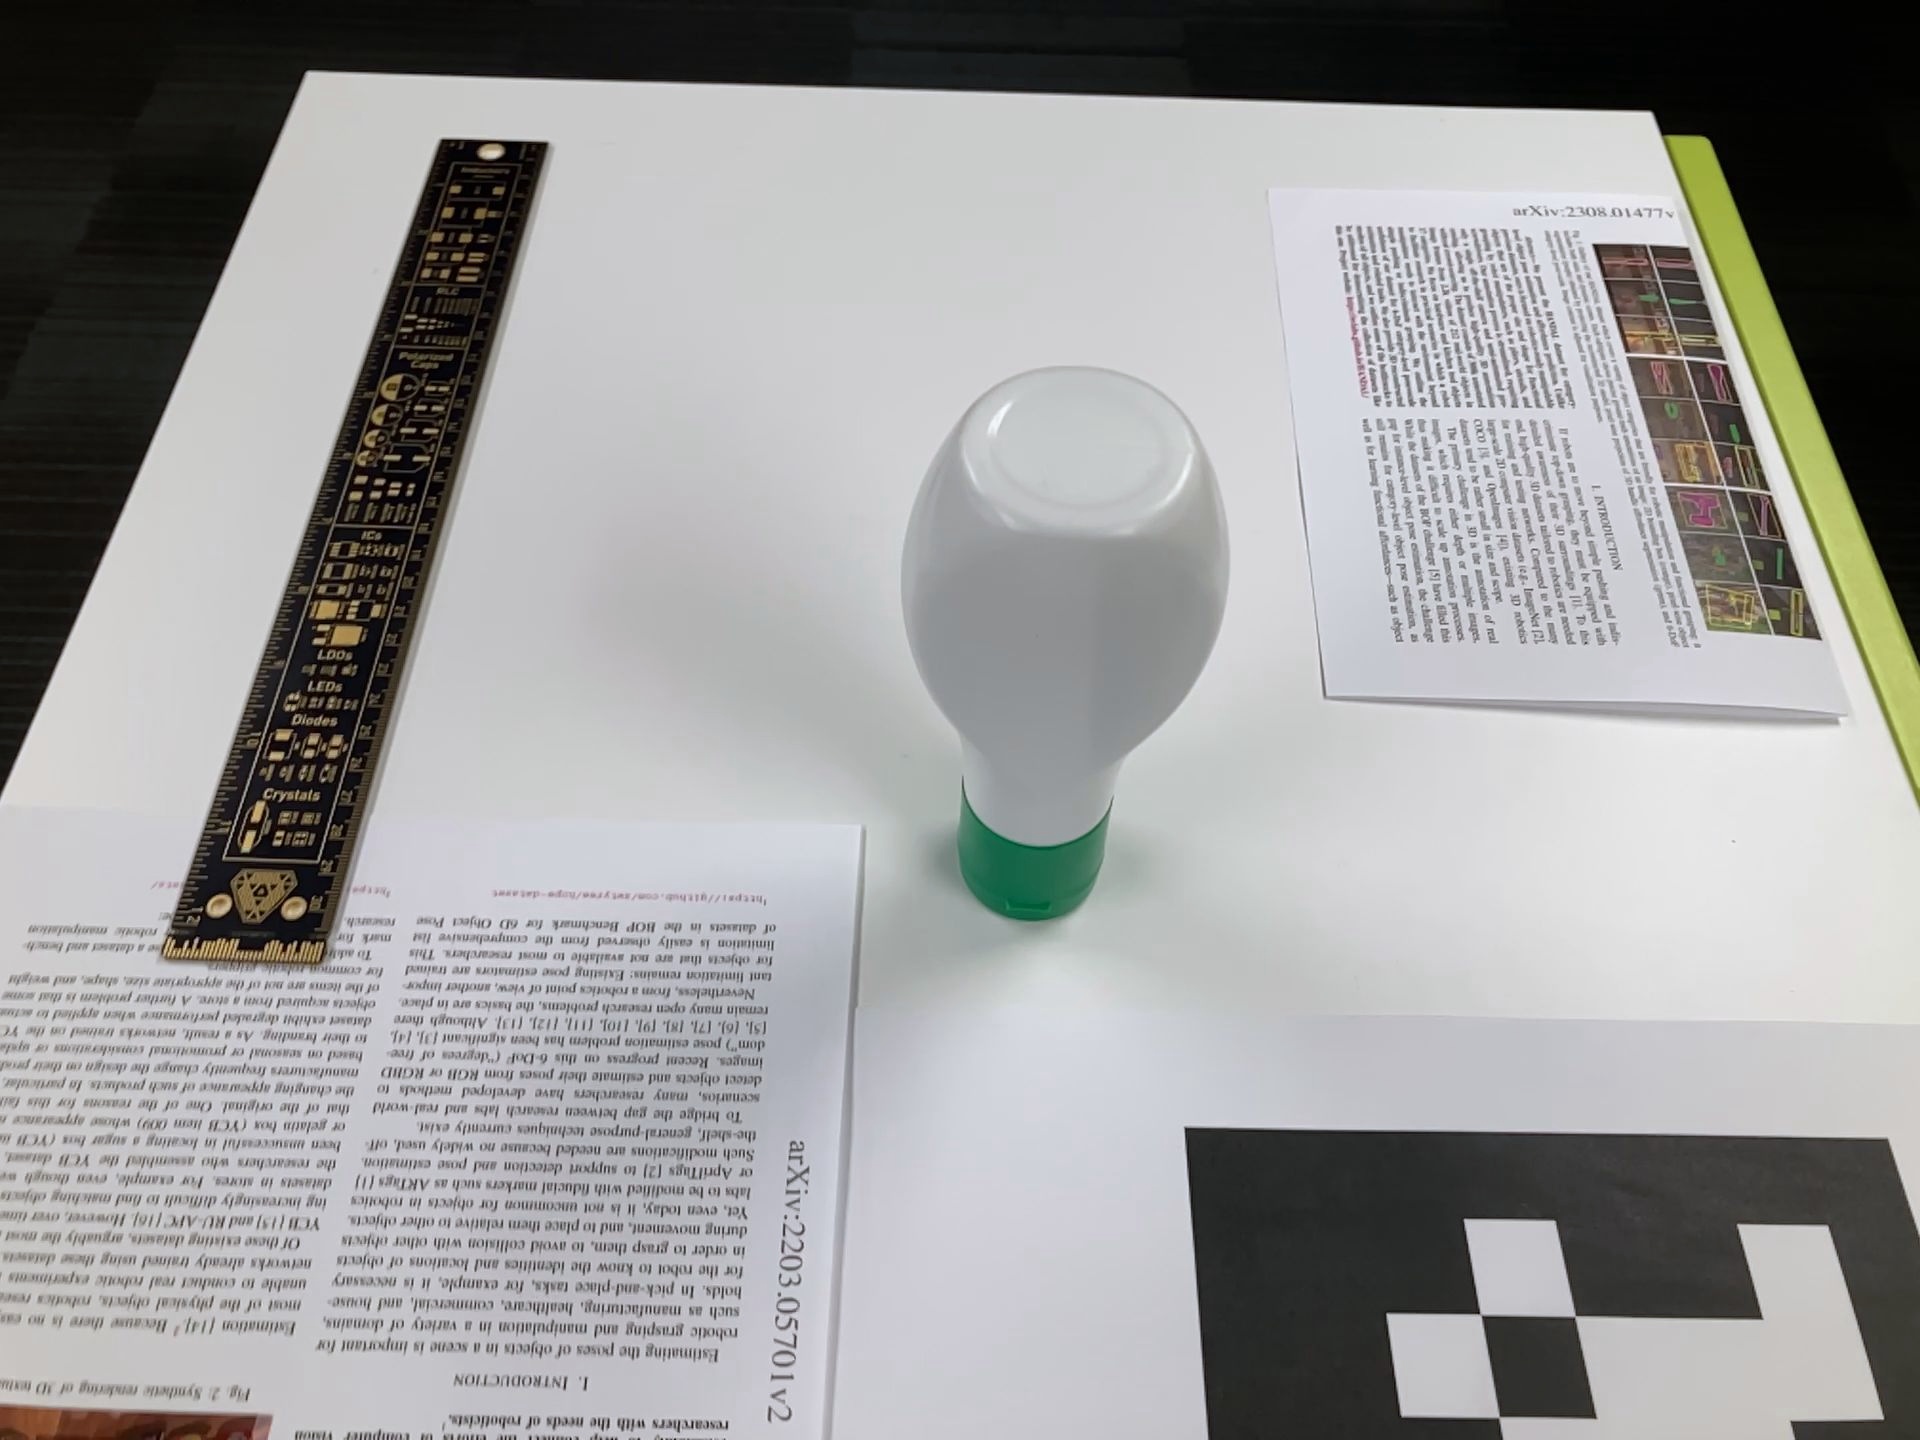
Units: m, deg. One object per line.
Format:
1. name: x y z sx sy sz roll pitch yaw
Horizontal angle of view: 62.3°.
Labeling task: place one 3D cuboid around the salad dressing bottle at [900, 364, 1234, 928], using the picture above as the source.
1. salad dressing bottle: 0.019 -0.006 0.339 0.064 0.147 0.044 3 54 0
